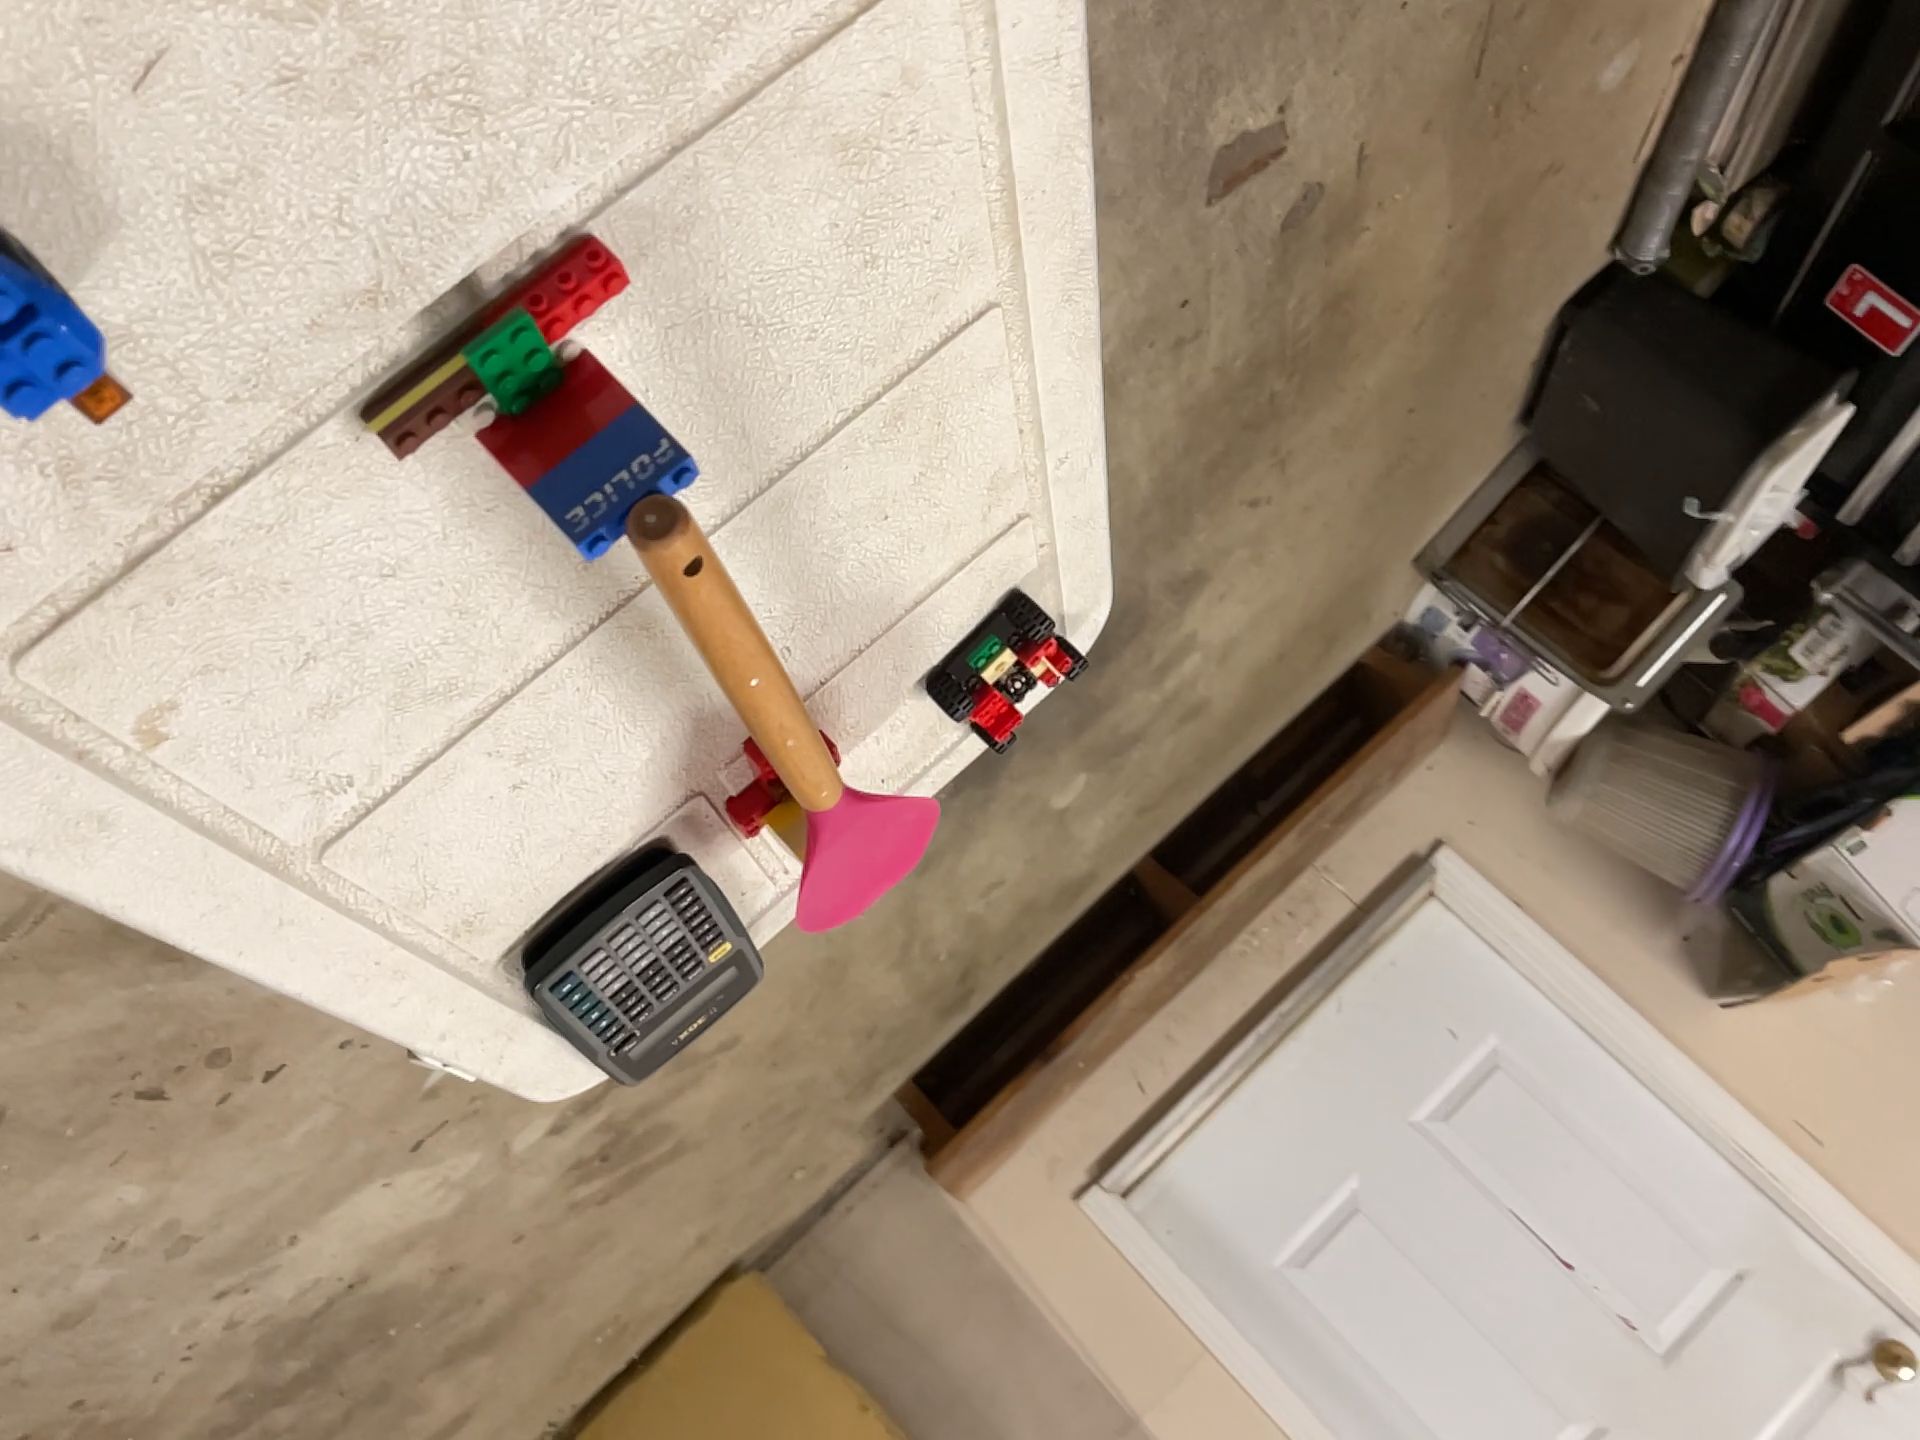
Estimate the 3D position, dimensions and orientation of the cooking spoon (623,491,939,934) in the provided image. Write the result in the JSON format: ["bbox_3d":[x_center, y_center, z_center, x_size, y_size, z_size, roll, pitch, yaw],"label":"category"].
[{"bbox_3d":[-0.048,0.012,0.484,0.069,0.017,0.318,-42,161,-9],"label":"cooking spoon"}]
